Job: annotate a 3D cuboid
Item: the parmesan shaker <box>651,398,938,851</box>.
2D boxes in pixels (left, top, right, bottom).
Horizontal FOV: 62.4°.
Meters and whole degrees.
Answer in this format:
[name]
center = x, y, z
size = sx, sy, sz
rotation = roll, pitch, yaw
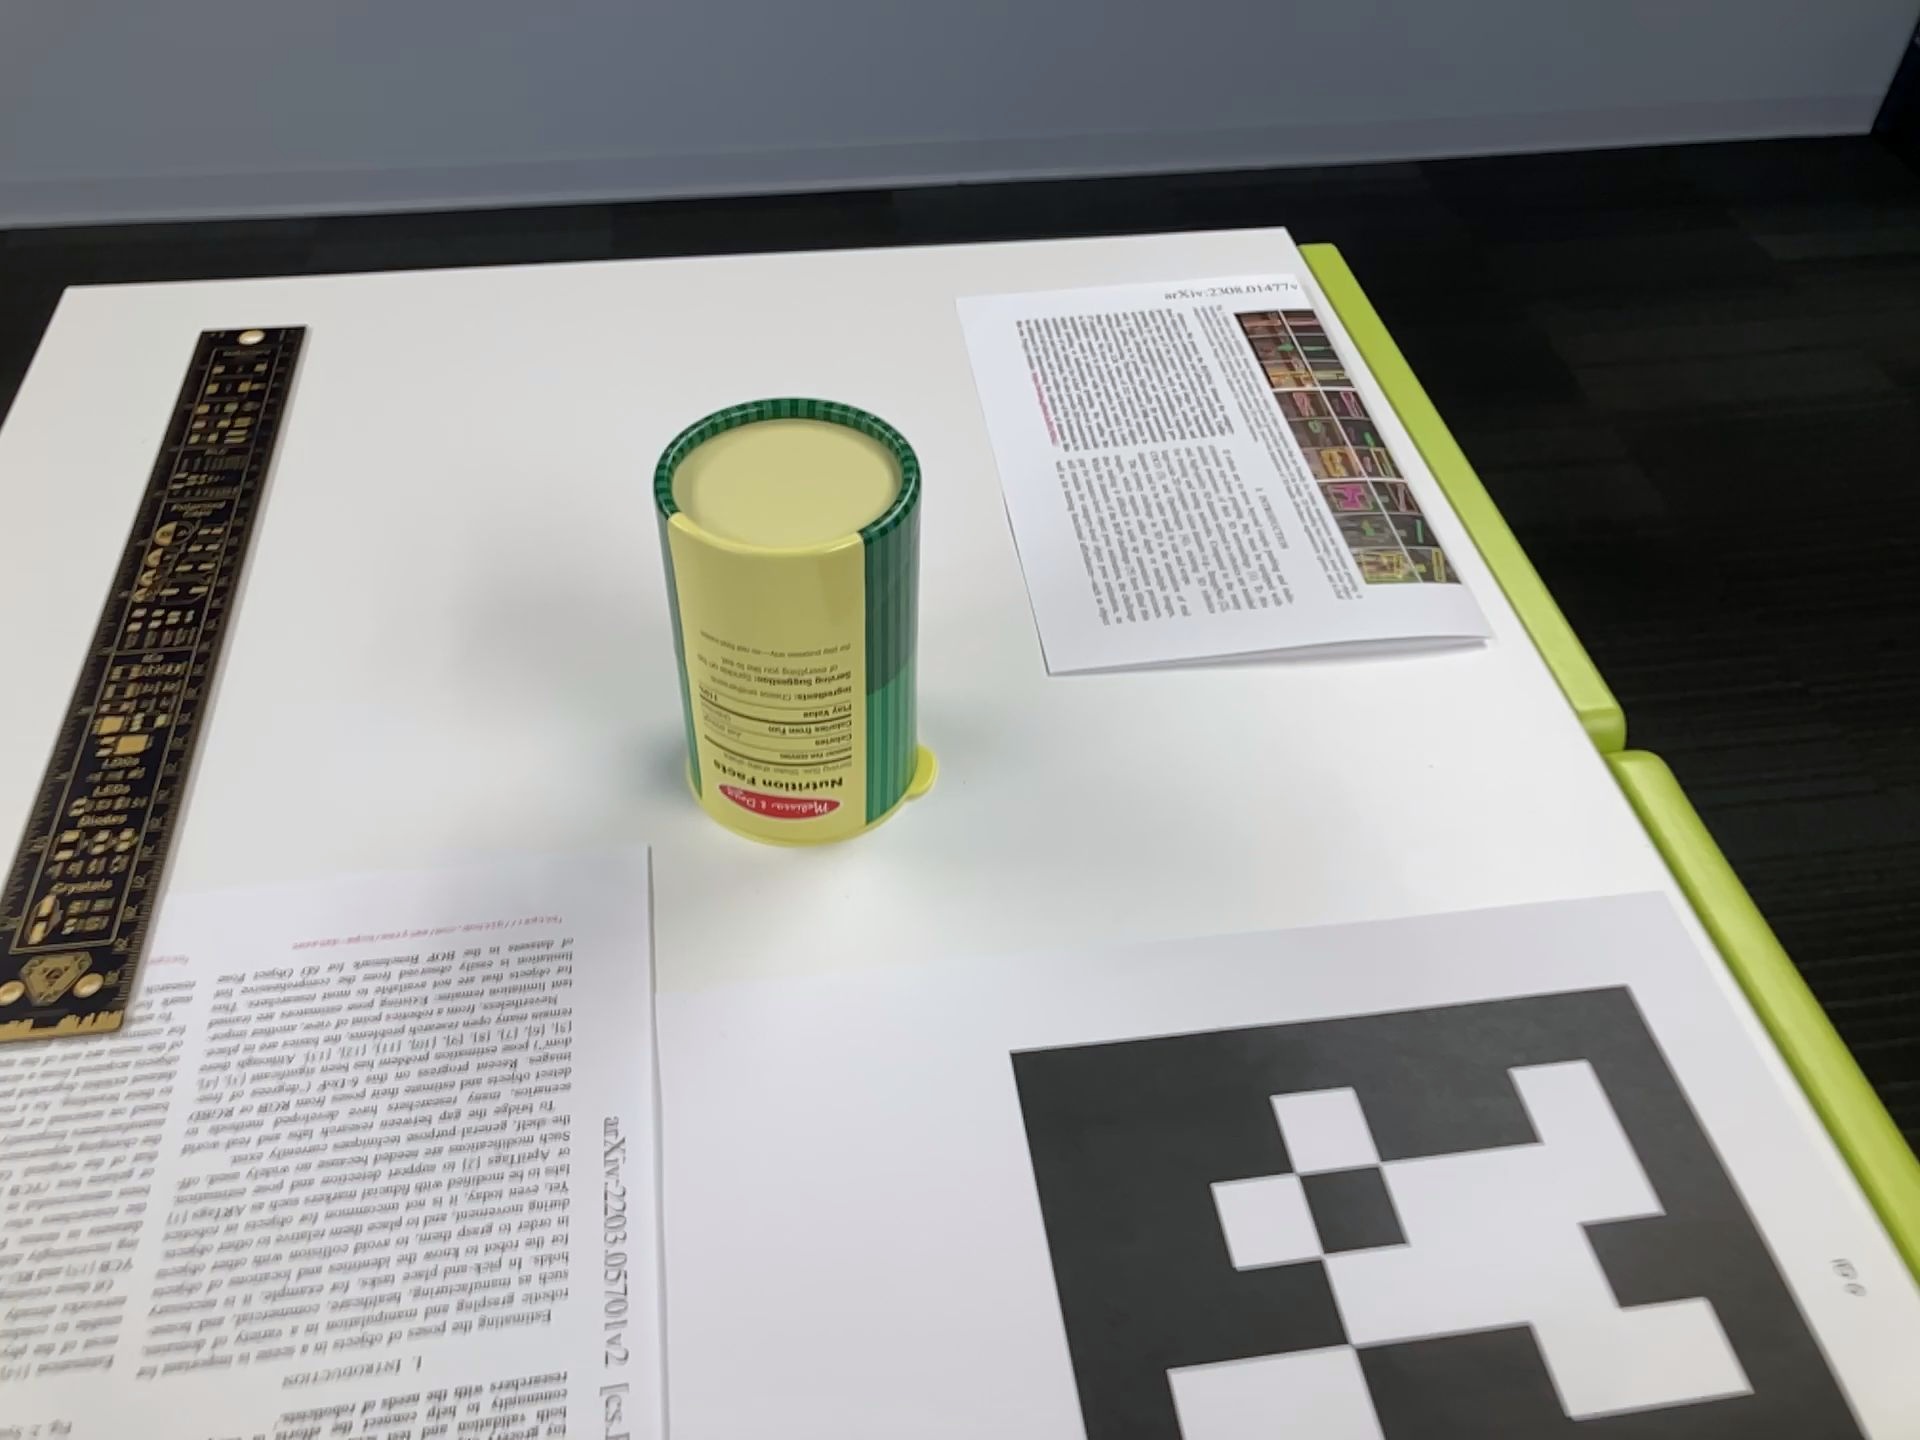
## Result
[parmesan shaker]
center = -0.040, -0.024, 0.416
size = 0.071, 0.103, 0.071
rotation = 2, 45, -1
